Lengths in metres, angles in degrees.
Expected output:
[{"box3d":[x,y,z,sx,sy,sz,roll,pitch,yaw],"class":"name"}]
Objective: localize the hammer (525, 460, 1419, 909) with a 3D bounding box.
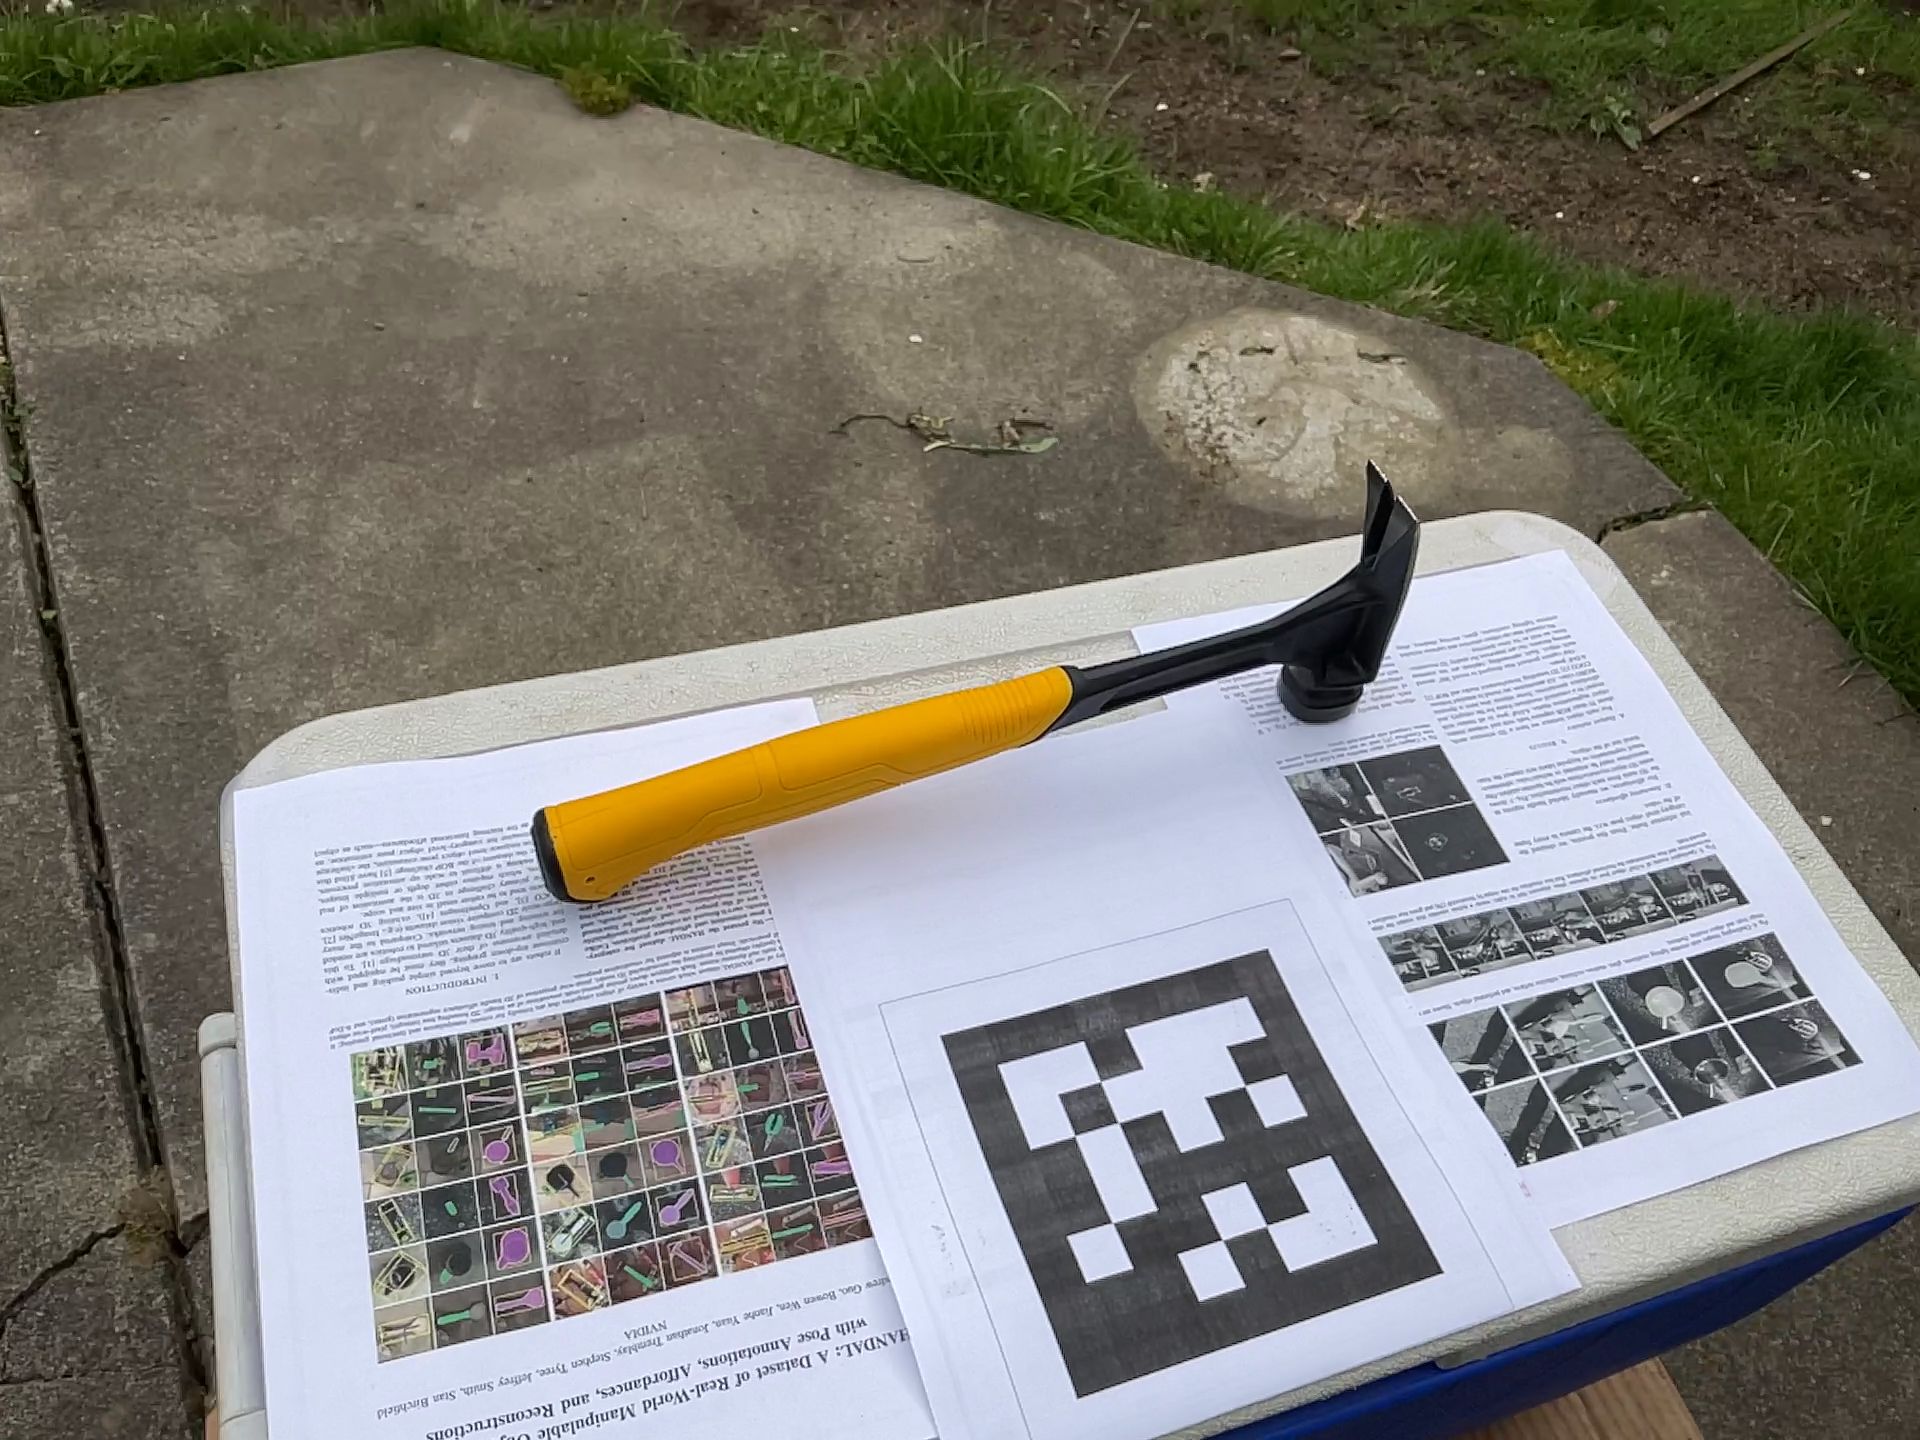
[{"box3d":[0.009,-0.002,0.587,0.336,0.127,0.034,-17,57,-12],"class":"hammer"}]
